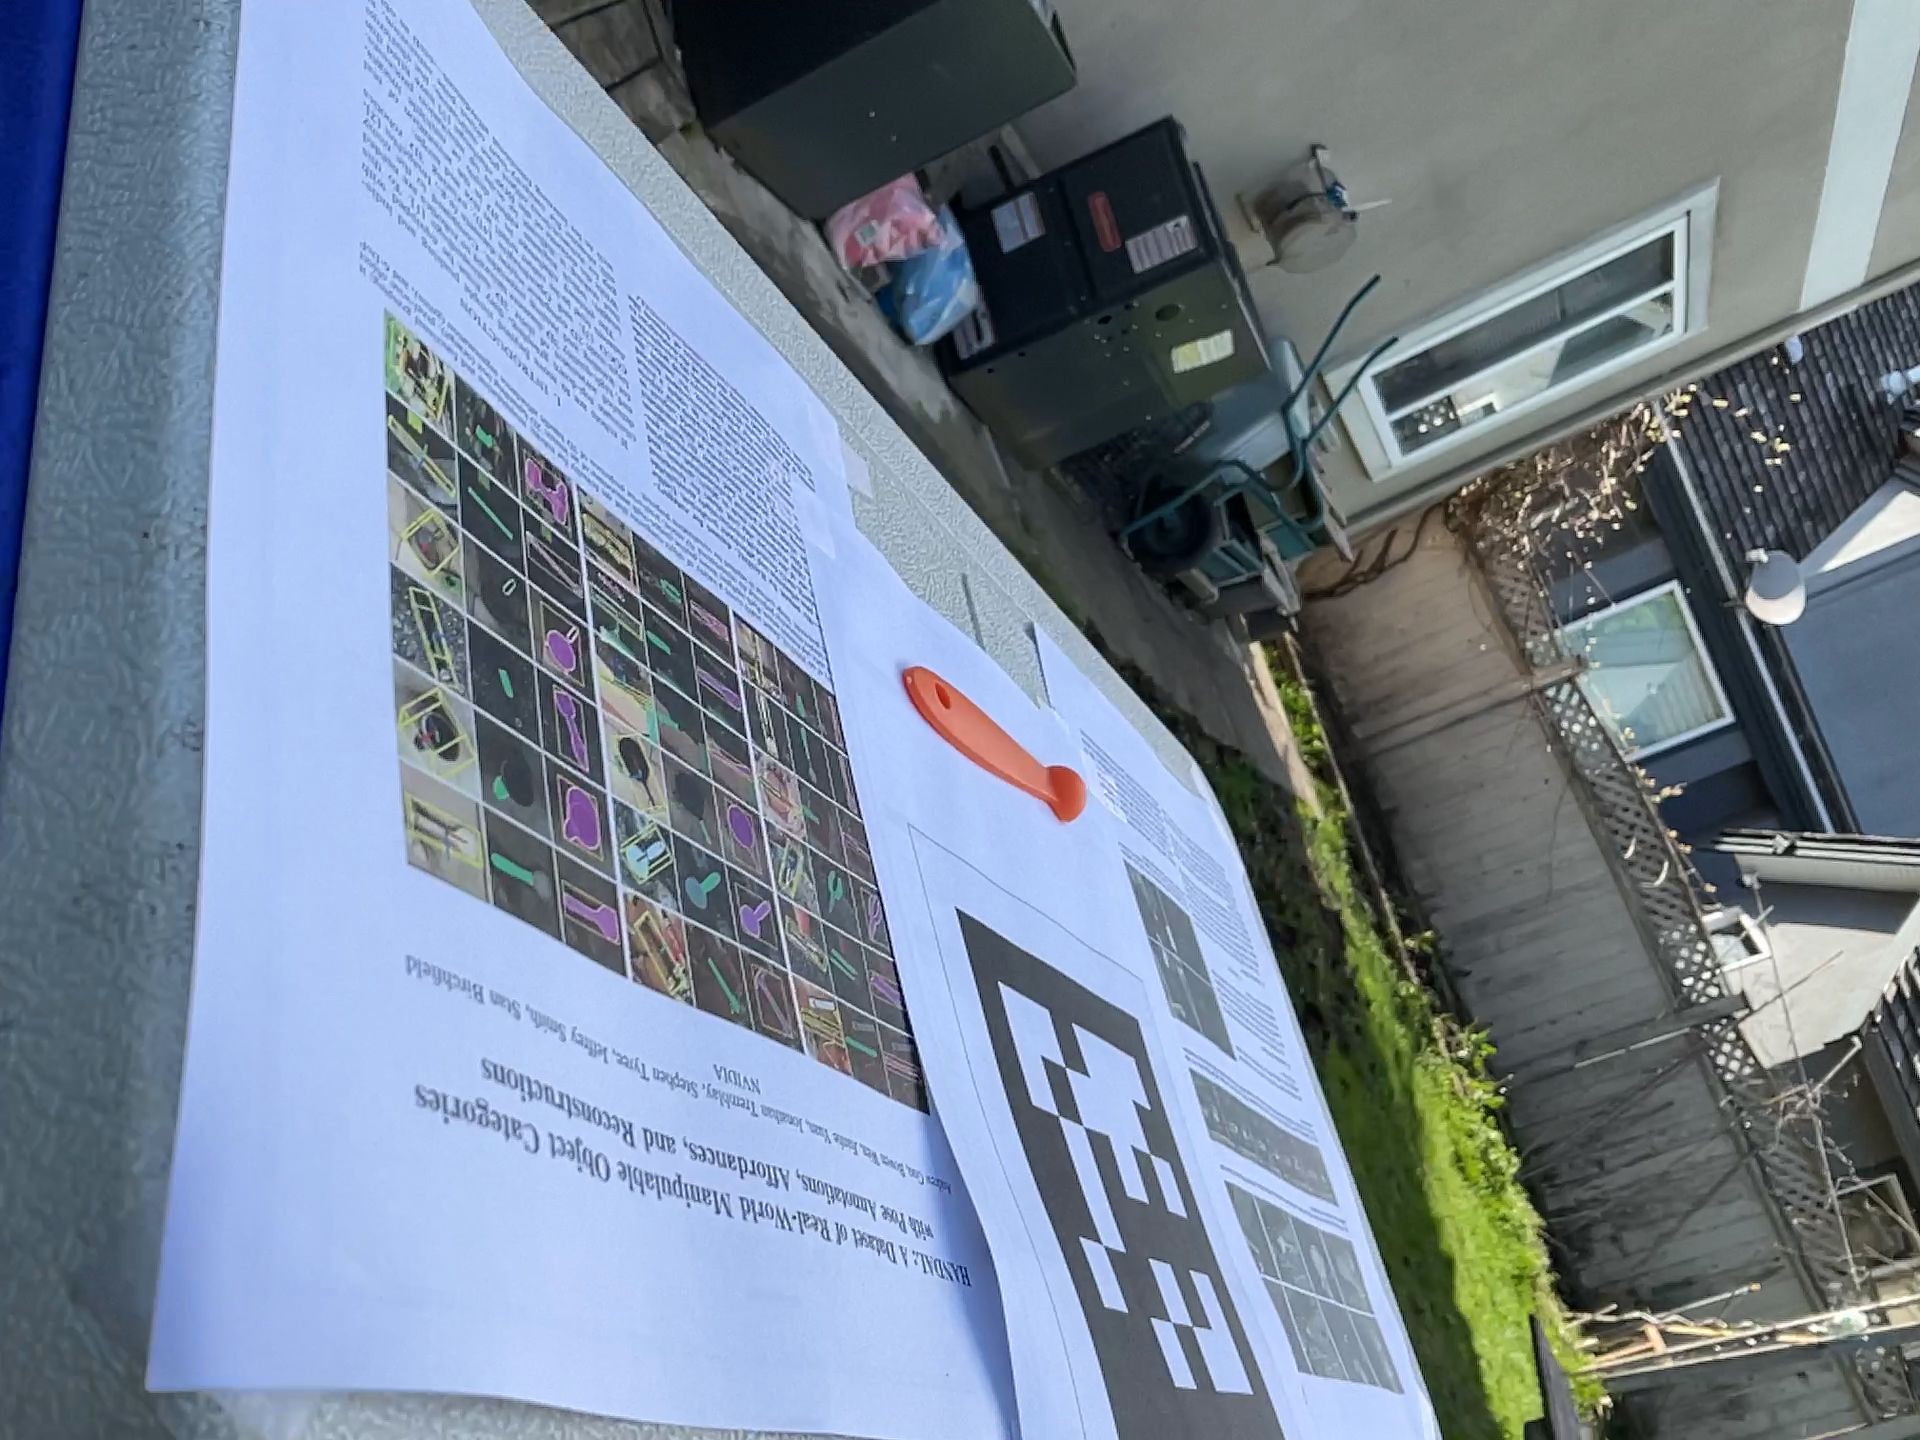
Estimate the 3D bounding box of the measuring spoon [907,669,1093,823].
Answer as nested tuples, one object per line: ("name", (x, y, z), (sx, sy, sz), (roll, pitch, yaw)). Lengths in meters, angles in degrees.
("measuring spoon", (0.015, 0.007, 0.476), (0.116, 0.011, 0.021), (36, 28, -57))
